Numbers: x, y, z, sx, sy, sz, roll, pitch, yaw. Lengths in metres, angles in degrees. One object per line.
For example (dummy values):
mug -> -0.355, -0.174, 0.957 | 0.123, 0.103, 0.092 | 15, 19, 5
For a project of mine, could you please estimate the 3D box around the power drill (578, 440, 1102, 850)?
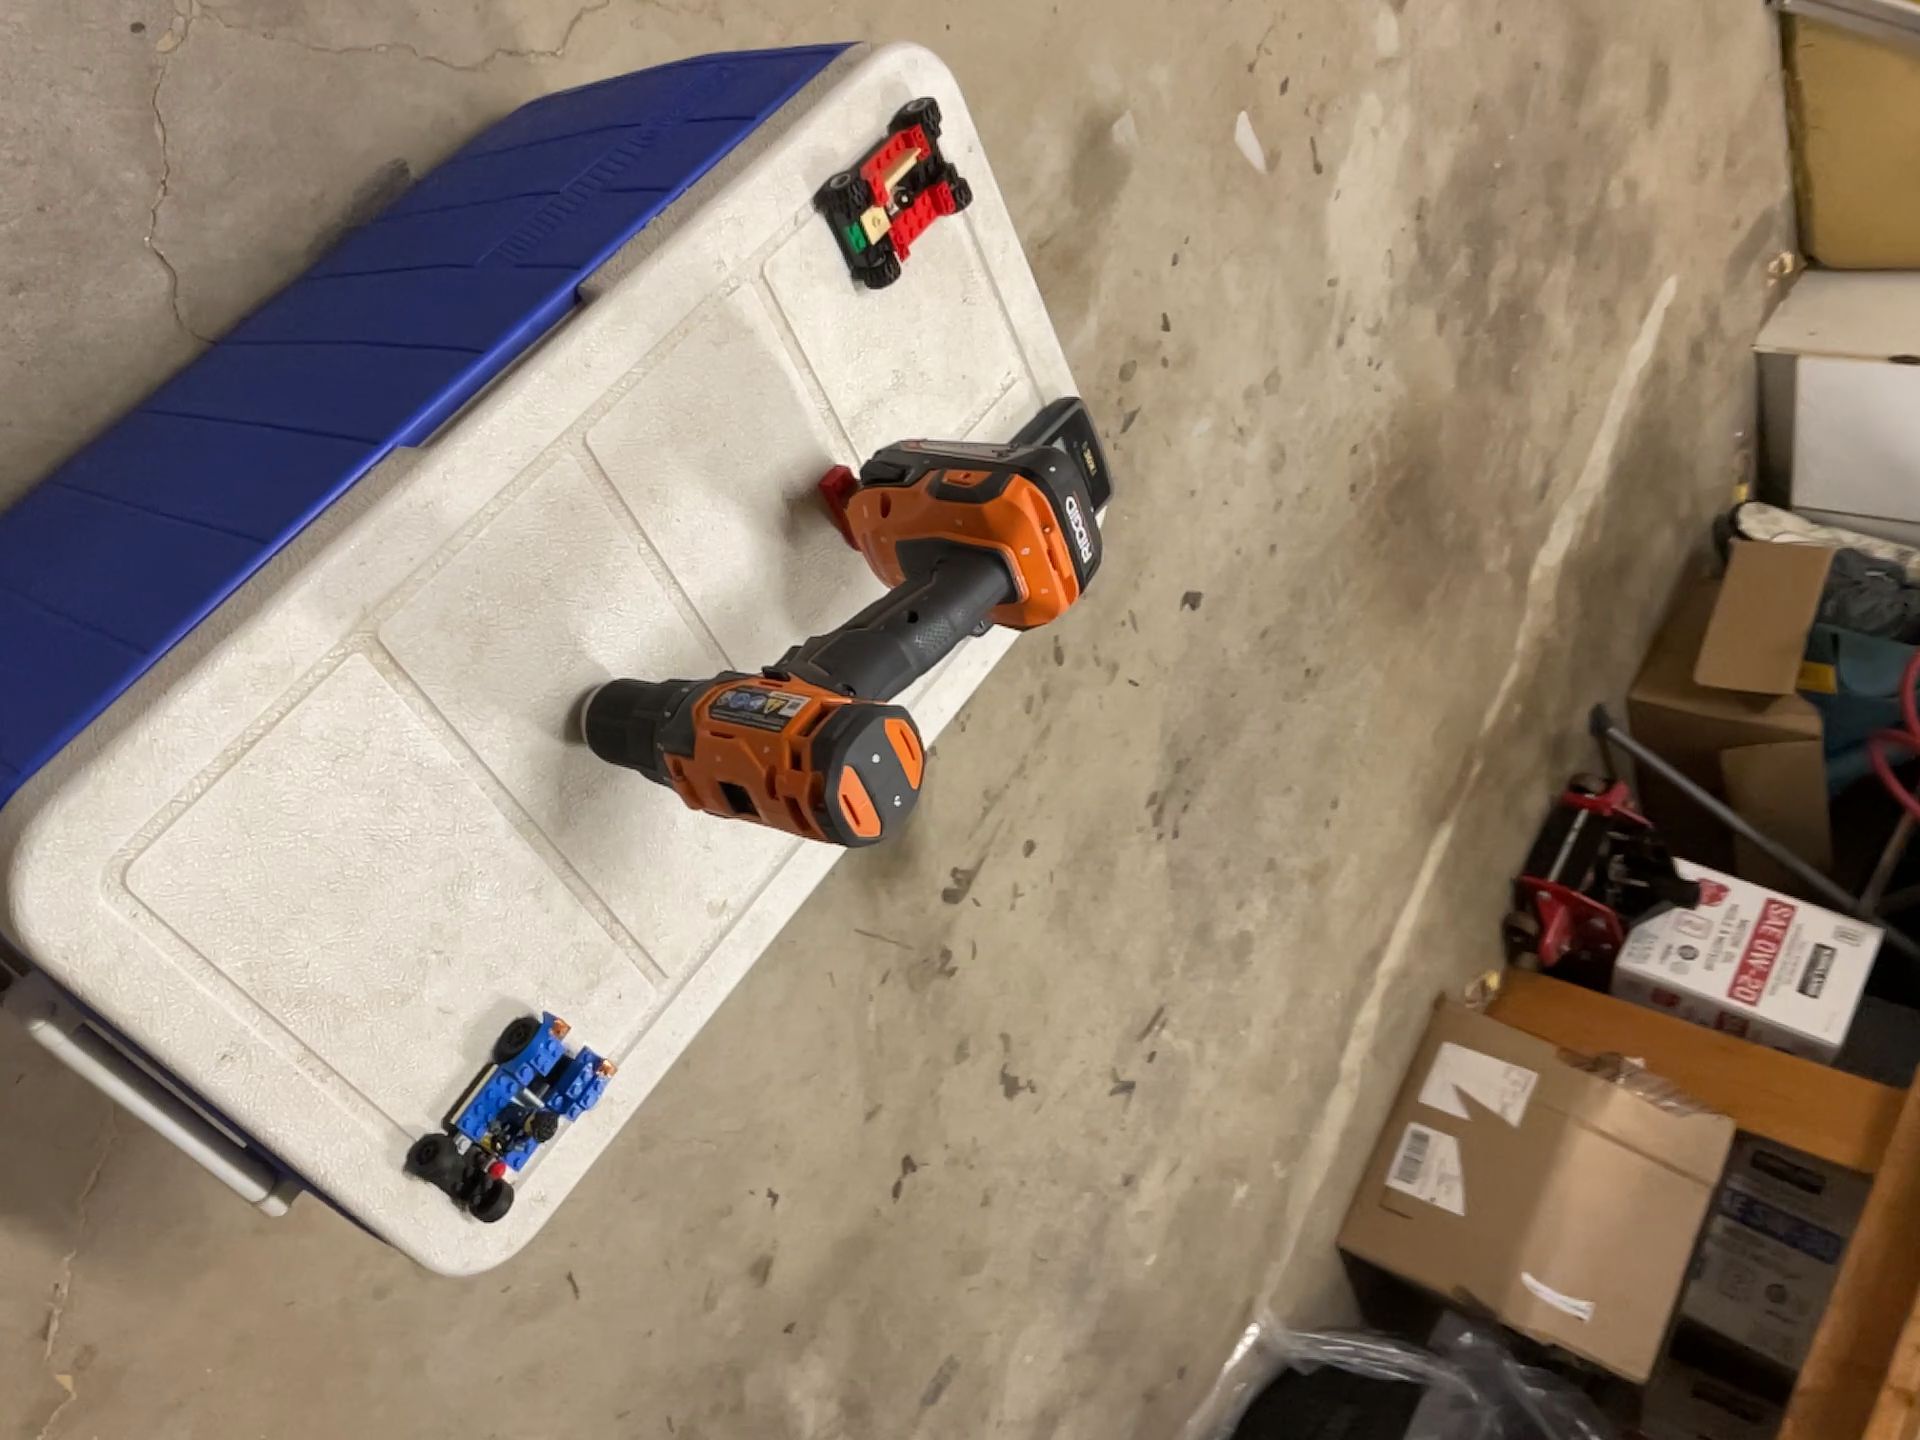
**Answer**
power drill -> -0.059, -0.040, 0.751 | 0.226, 0.185, 0.084 | -51, 133, -33
